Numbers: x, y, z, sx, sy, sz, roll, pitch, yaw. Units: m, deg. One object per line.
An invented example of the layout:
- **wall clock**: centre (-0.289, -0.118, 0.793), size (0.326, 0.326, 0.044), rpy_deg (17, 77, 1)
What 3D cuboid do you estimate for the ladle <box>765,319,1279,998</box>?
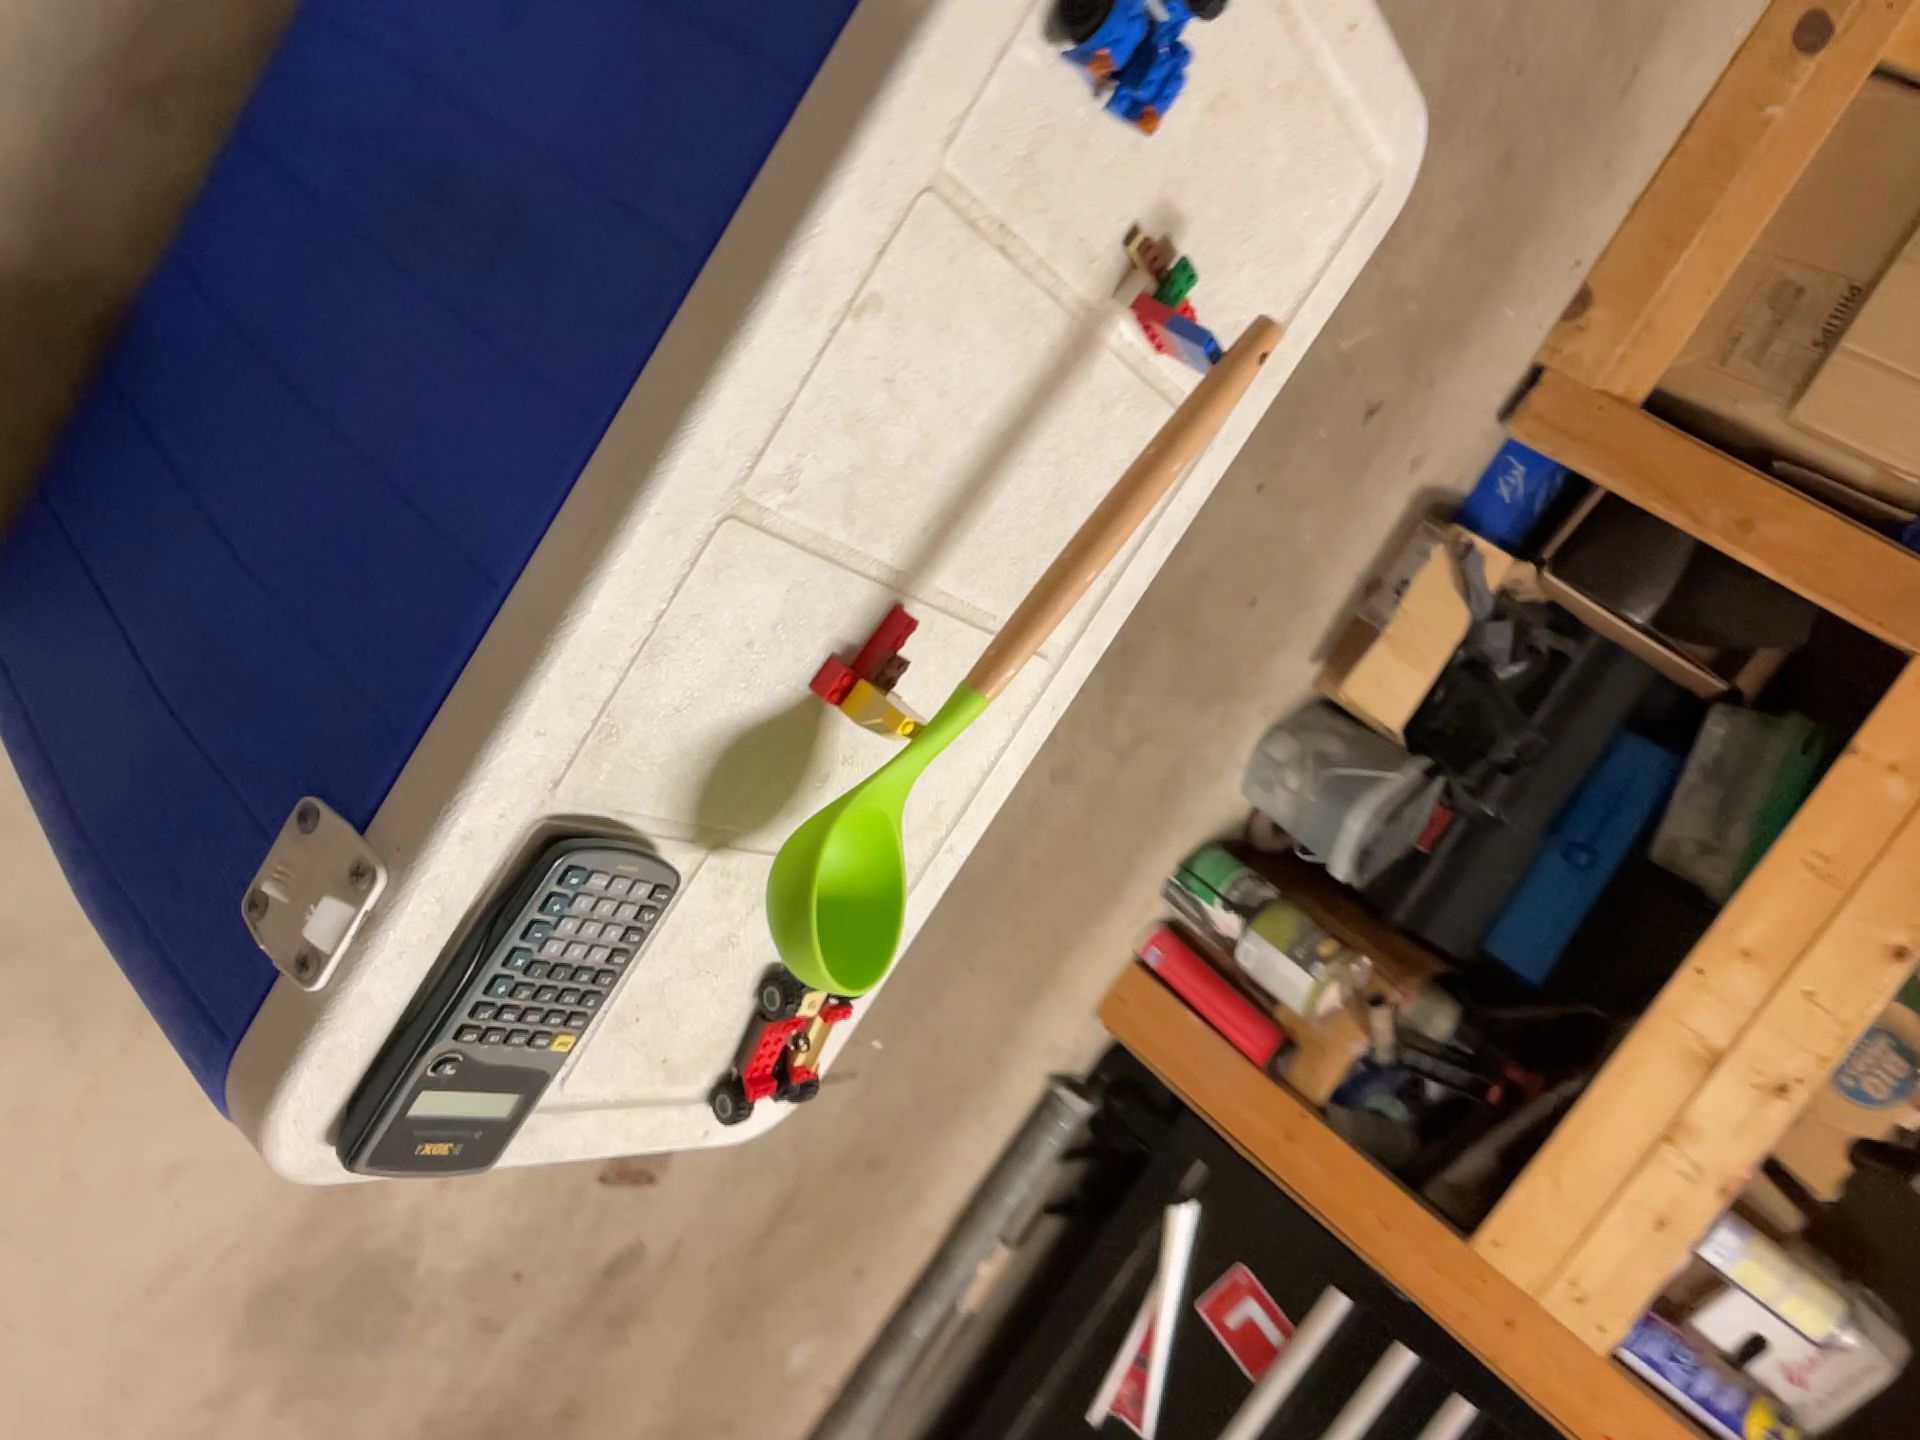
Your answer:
- **ladle**: centre (0.030, -0.025, 0.638), size (0.320, 0.062, 0.078), rpy_deg (-51, 149, 3)
